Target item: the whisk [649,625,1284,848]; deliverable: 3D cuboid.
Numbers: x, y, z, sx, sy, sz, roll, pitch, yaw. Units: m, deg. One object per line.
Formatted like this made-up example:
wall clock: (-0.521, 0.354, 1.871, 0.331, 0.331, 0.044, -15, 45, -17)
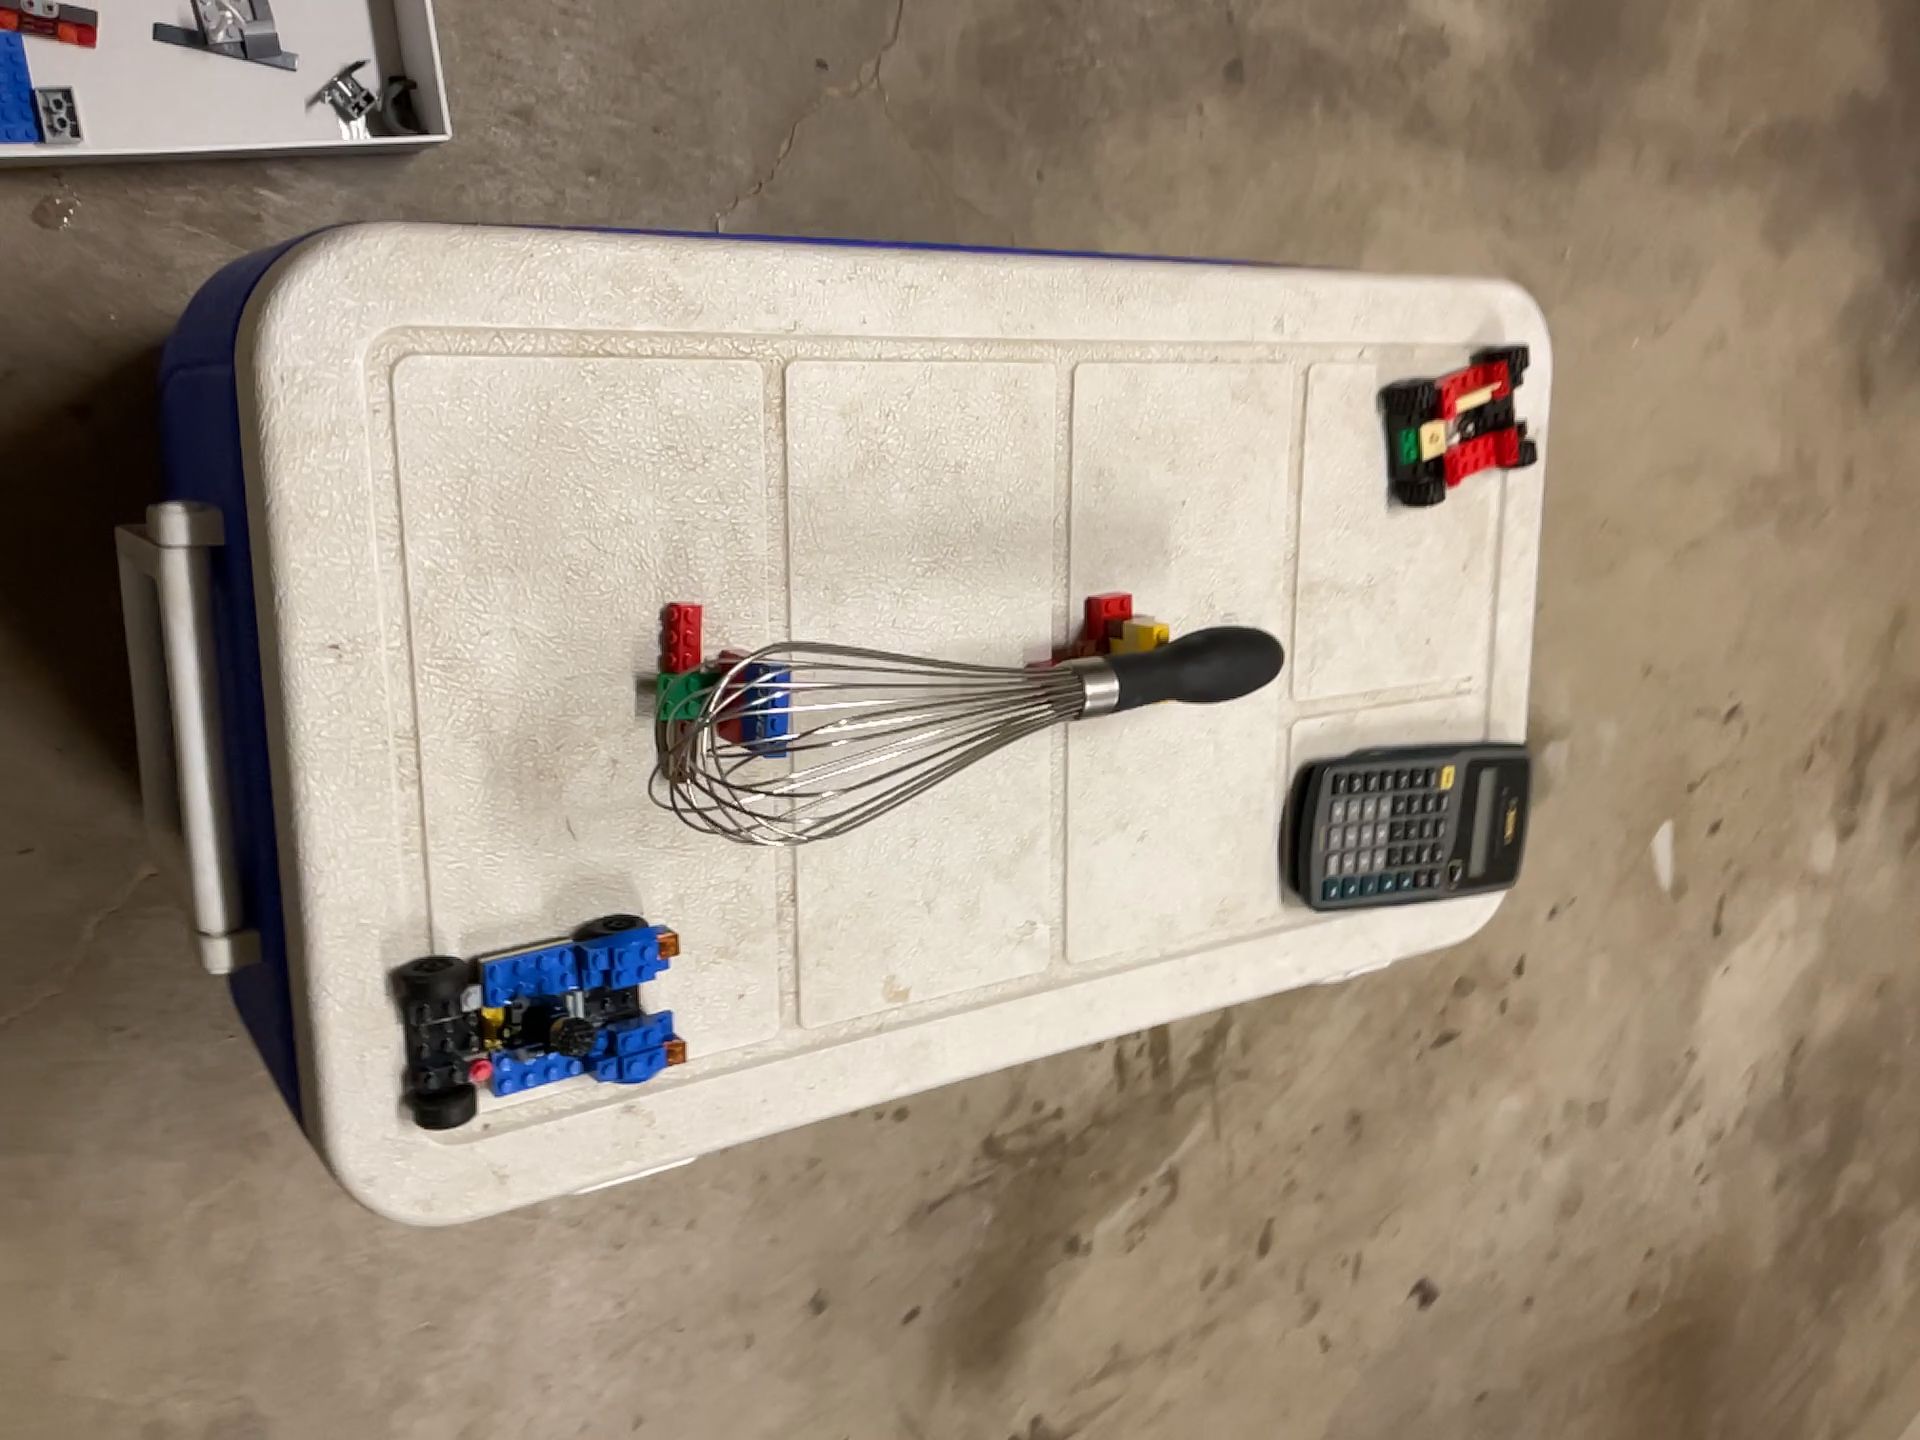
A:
whisk: (0.020, -0.007, 0.562, 0.285, 0.070, 0.070, -11, 101, -38)
